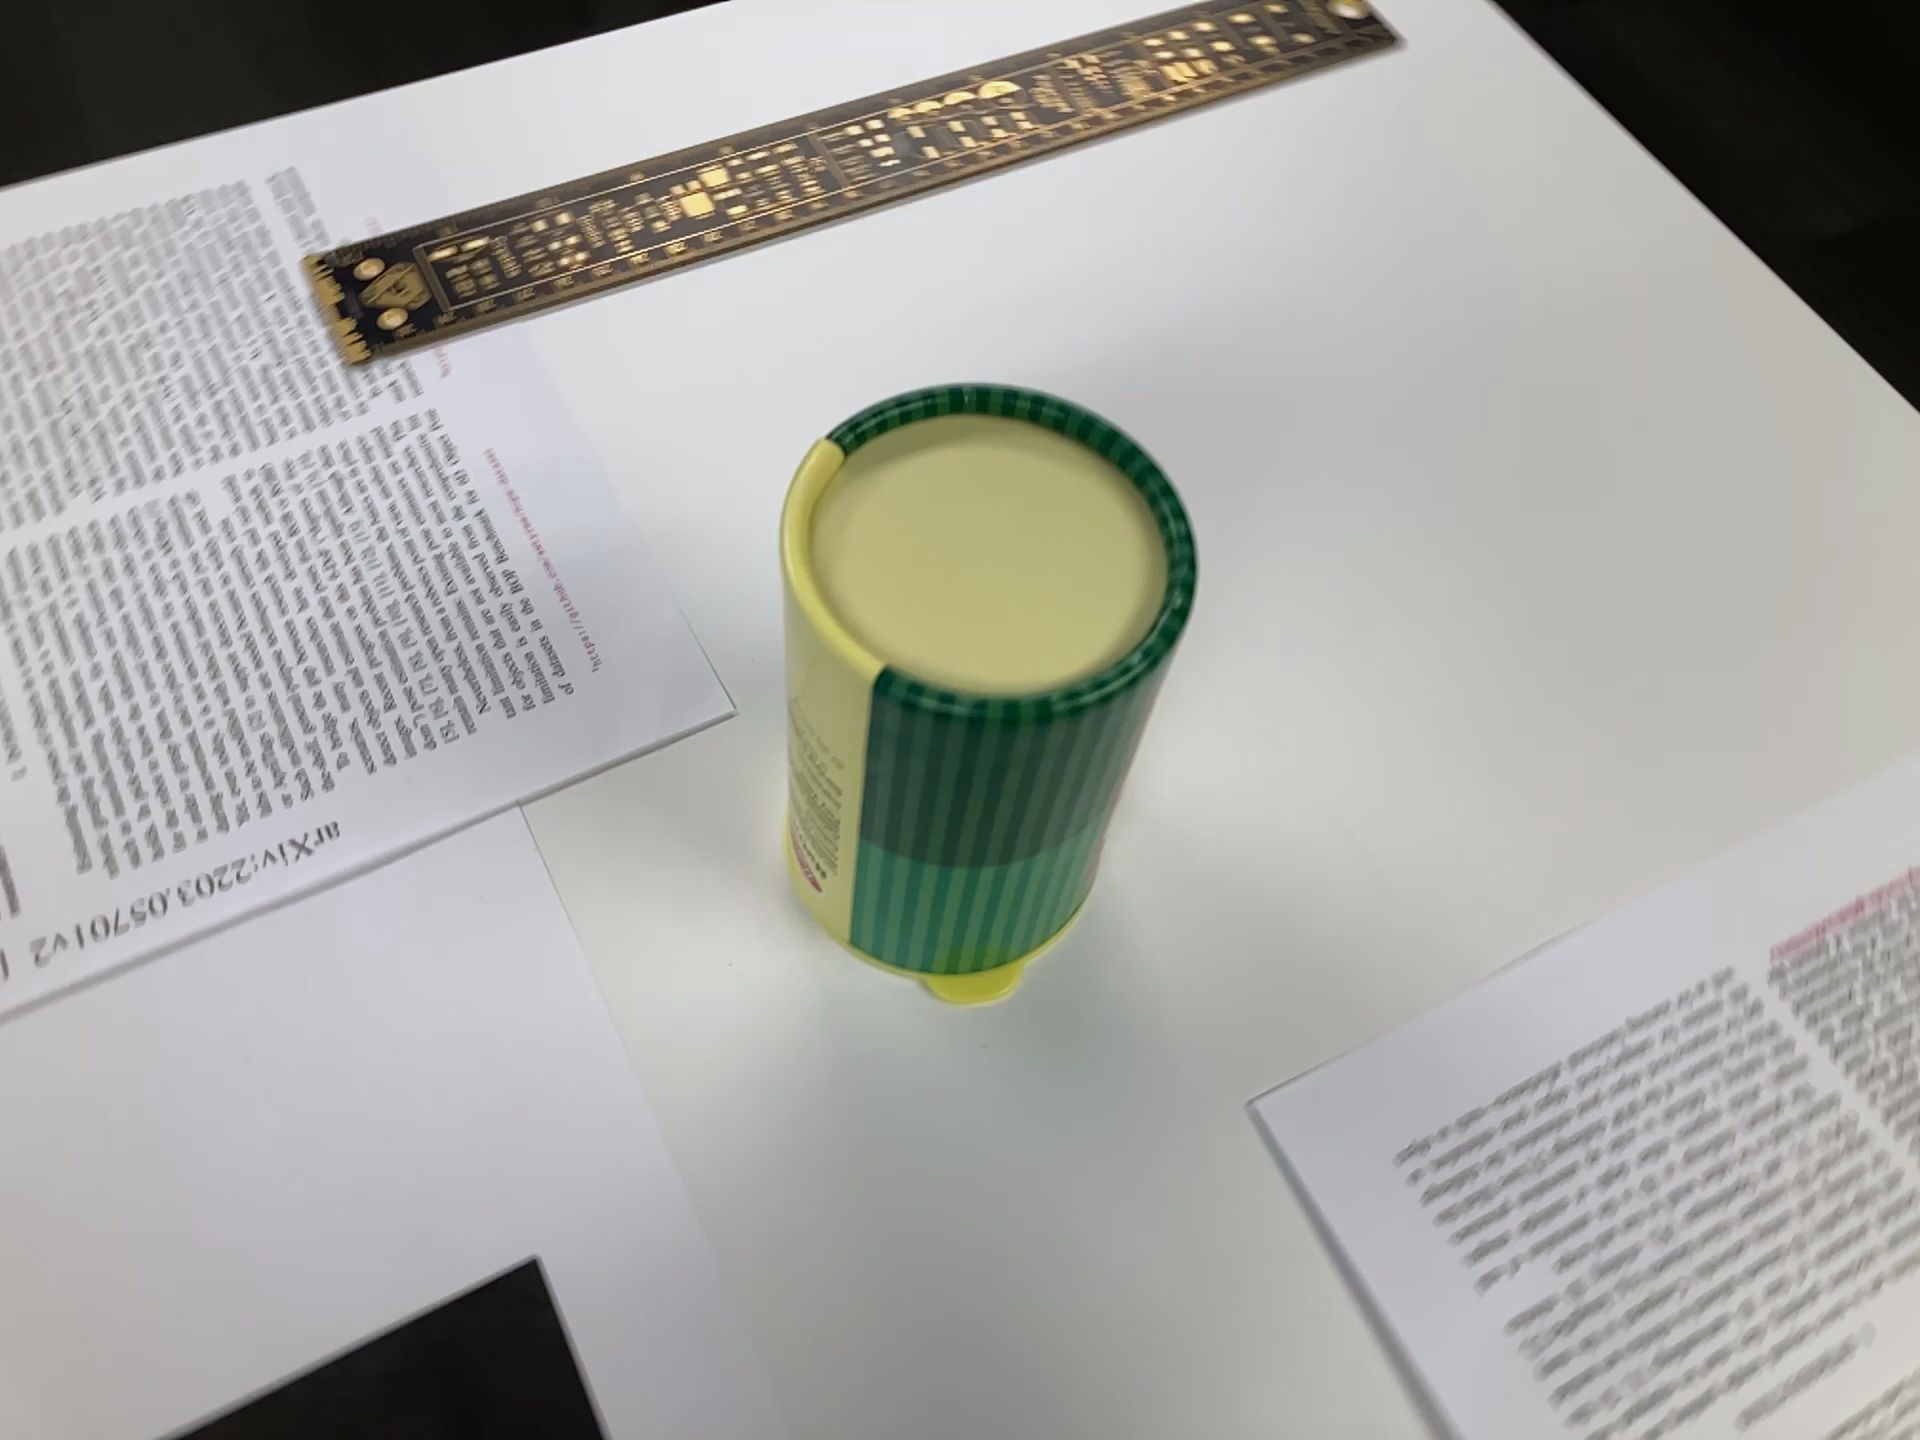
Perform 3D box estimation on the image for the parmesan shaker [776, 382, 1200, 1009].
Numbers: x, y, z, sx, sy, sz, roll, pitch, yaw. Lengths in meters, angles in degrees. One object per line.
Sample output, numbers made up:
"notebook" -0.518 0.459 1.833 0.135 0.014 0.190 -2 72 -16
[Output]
"parmesan shaker" 0.002 0.000 0.283 0.071 0.103 0.071 2 60 -4
